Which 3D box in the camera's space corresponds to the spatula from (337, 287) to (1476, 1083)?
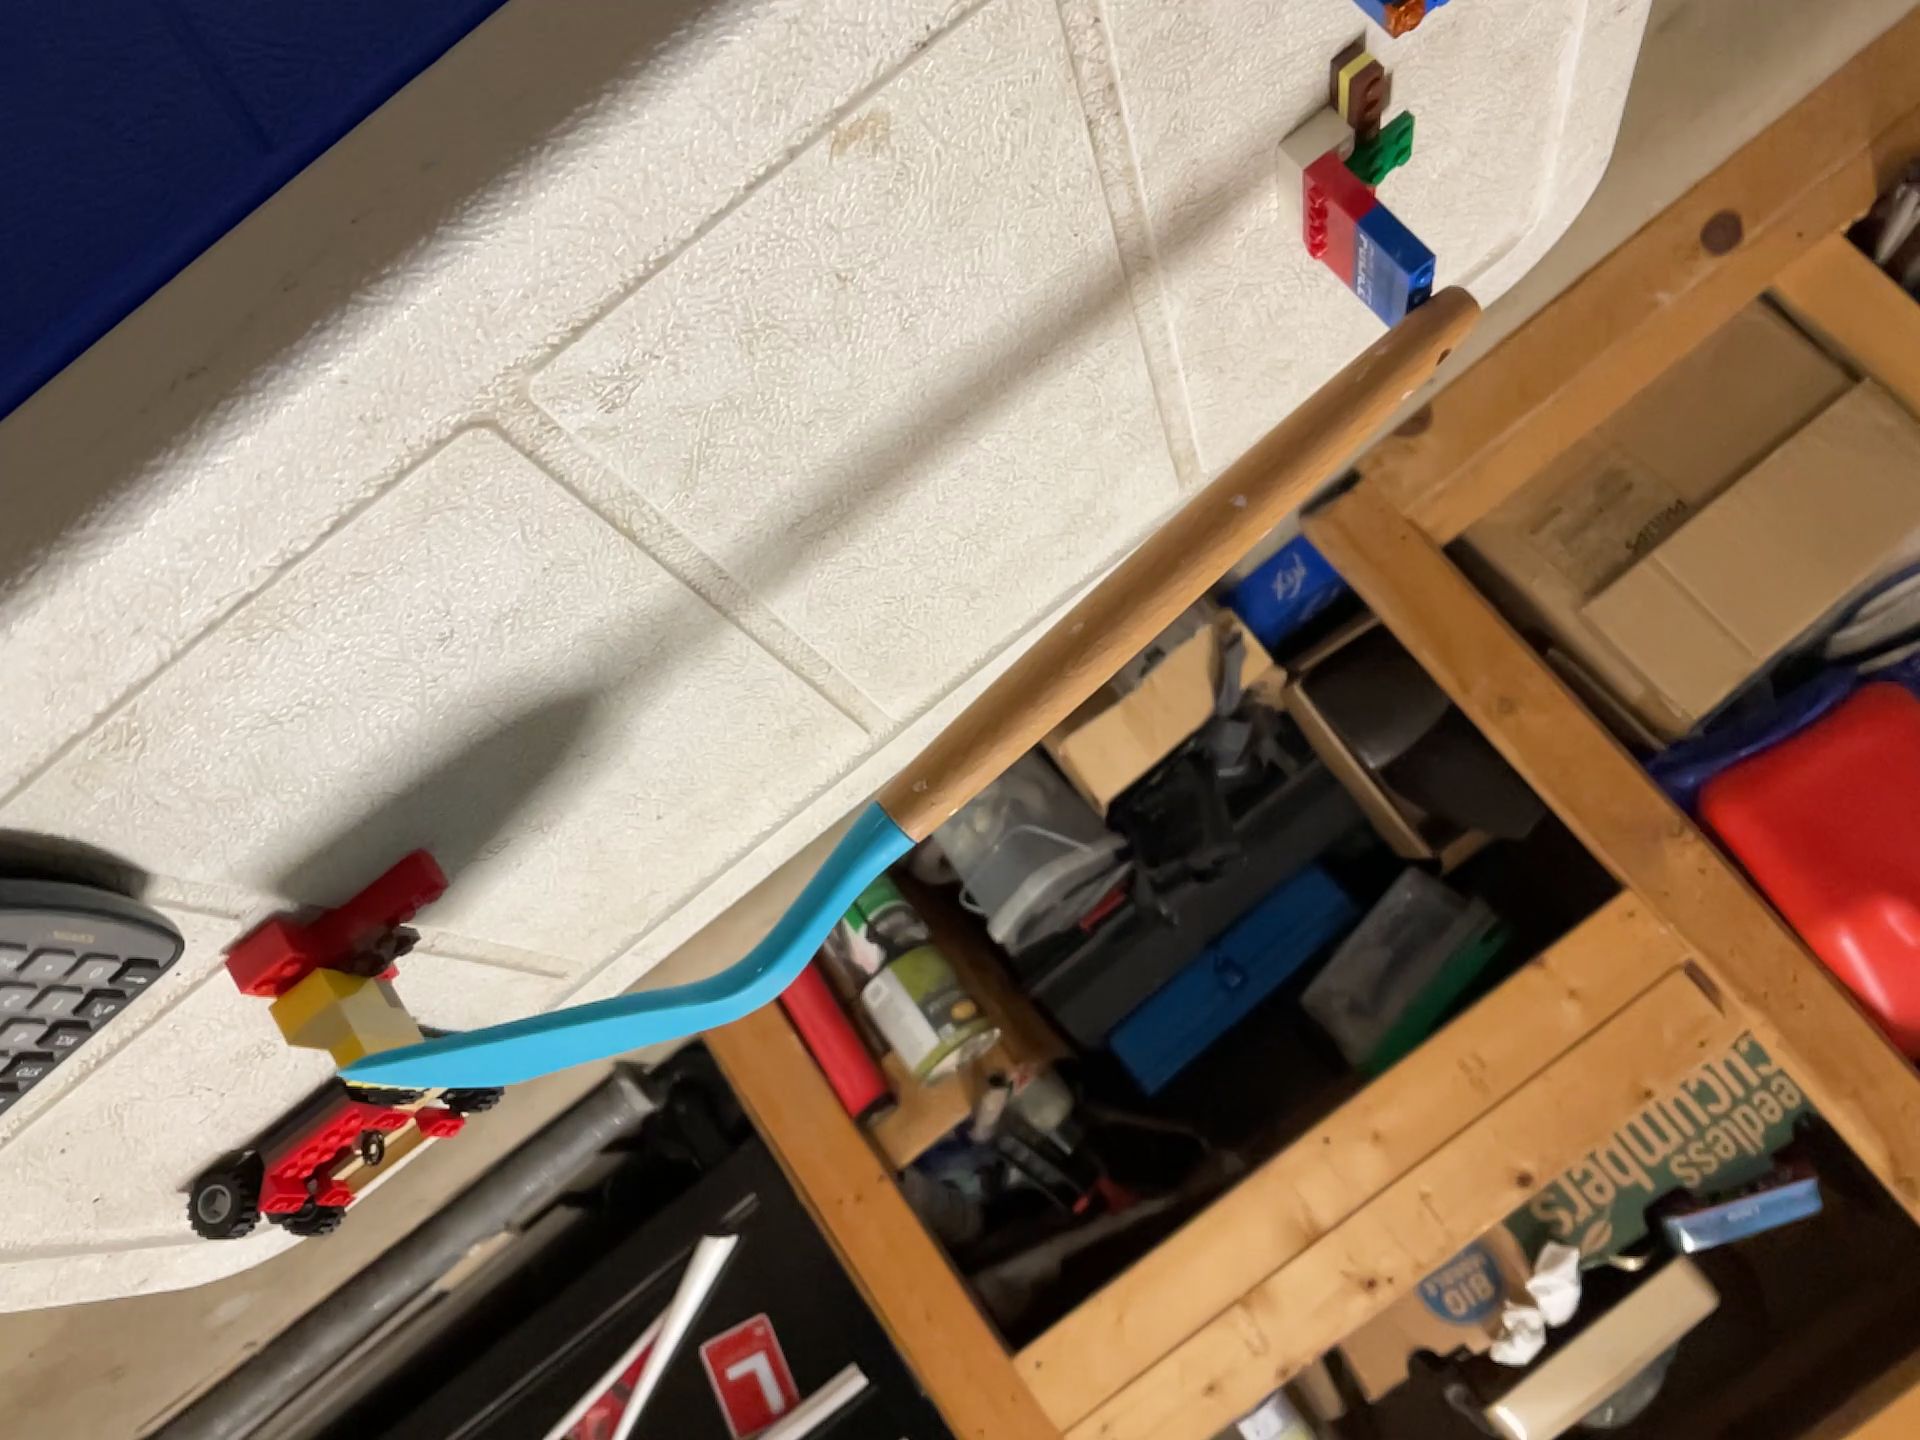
[{"bbox_3d":[-0.004,-0.001,0.388,0.317,0.044,0.082,-42,160,0],"label":"spatula"}]
